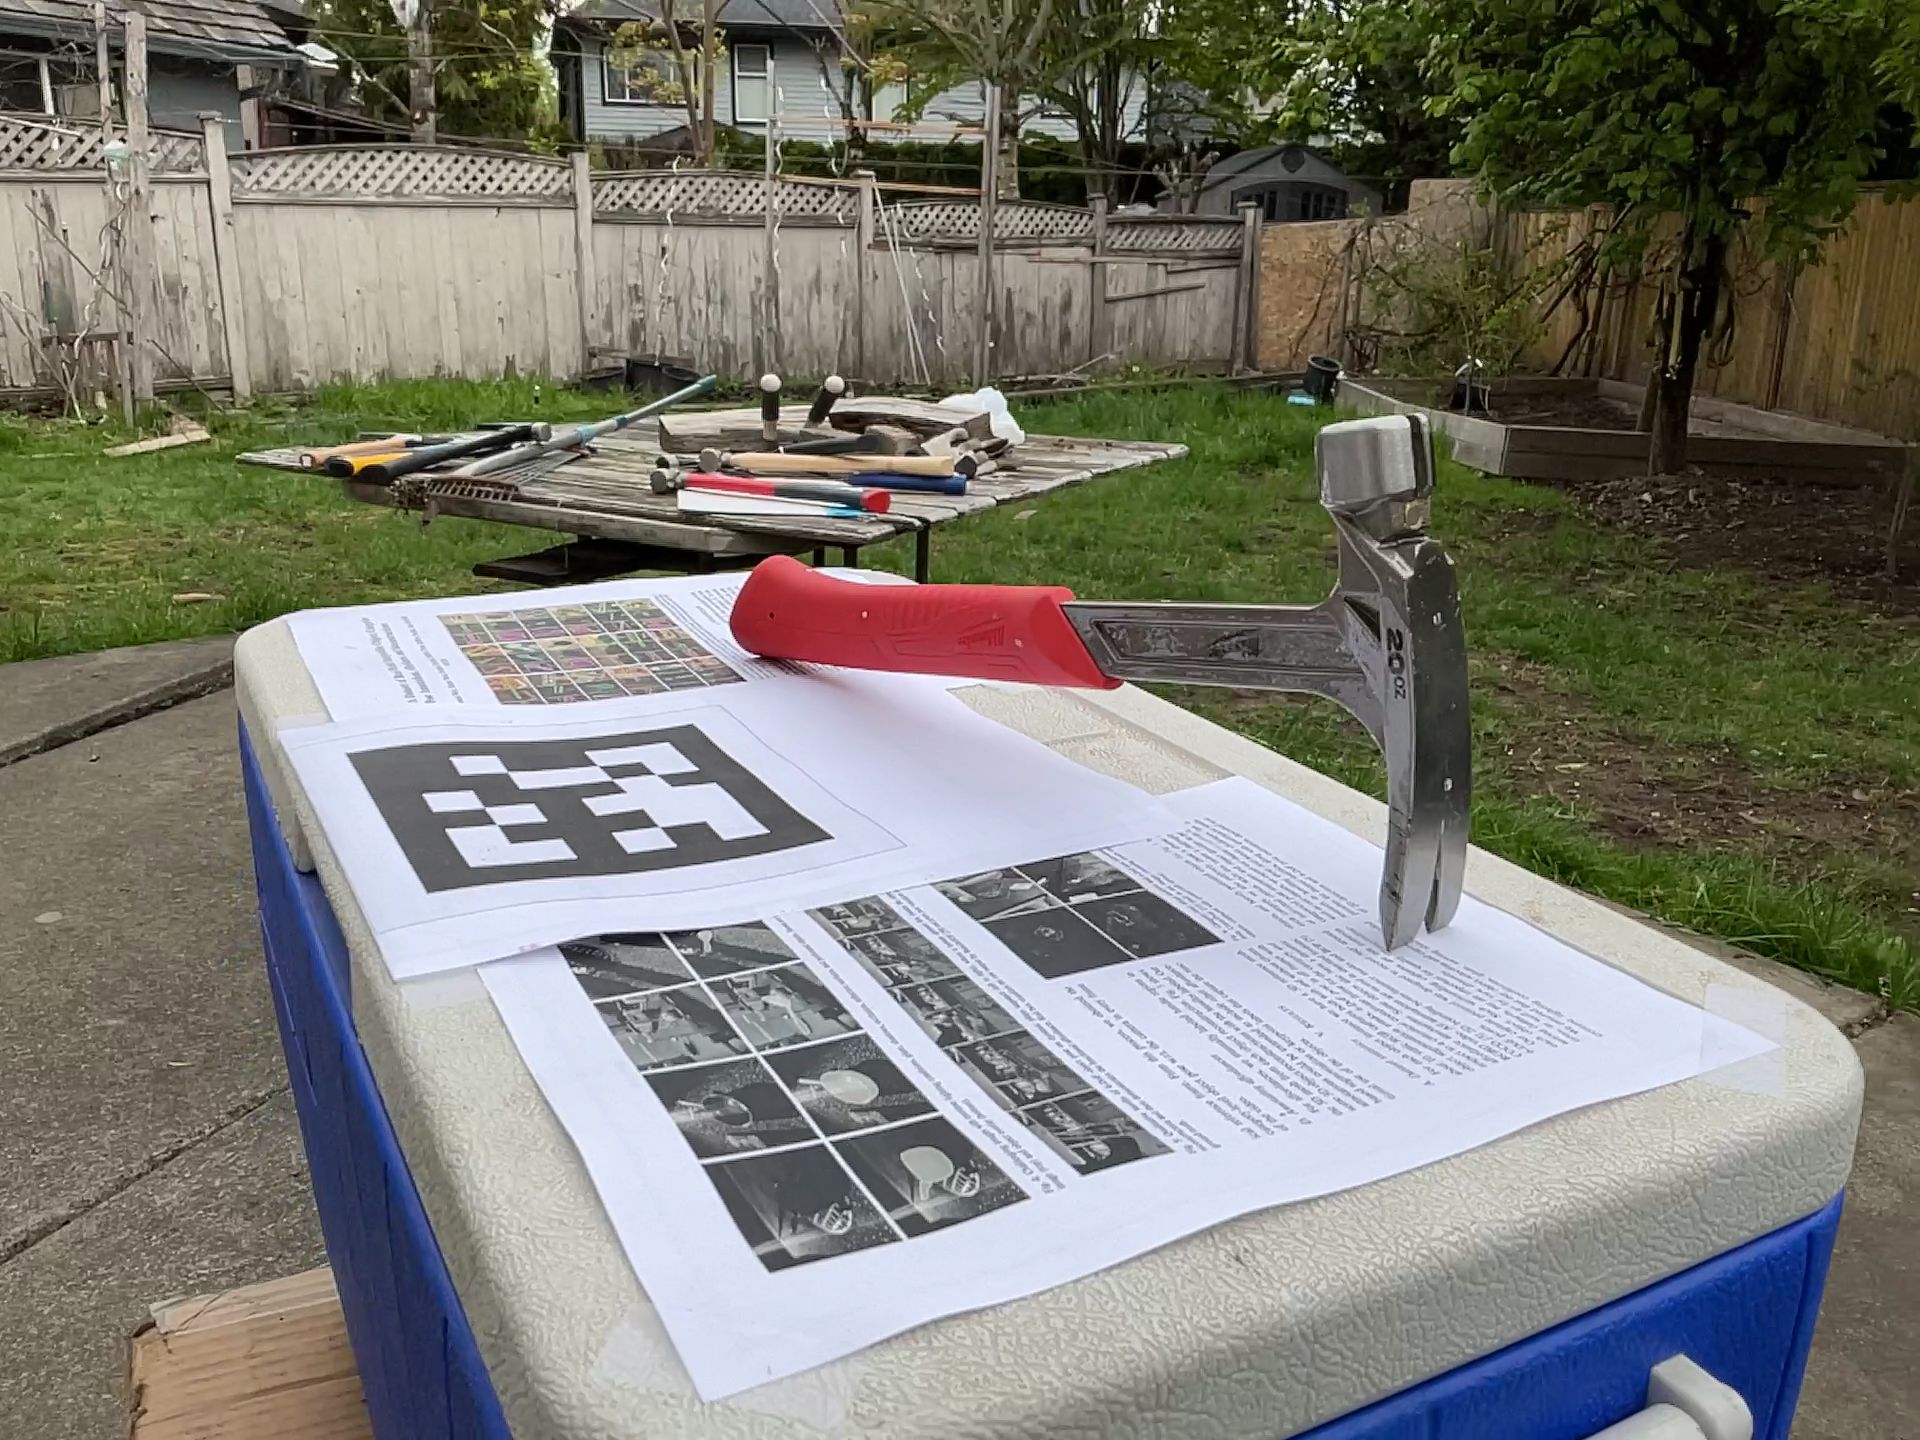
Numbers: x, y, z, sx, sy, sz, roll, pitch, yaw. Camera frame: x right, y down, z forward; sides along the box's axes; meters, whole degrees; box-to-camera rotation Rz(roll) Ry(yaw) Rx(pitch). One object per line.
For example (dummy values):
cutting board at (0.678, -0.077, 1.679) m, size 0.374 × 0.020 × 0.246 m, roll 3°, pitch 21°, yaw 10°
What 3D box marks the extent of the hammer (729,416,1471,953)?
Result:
hammer at (0.022, -0.020, 0.580) m, size 0.036 × 0.149 × 0.359 m, roll -13°, pitch 11°, yaw -37°
